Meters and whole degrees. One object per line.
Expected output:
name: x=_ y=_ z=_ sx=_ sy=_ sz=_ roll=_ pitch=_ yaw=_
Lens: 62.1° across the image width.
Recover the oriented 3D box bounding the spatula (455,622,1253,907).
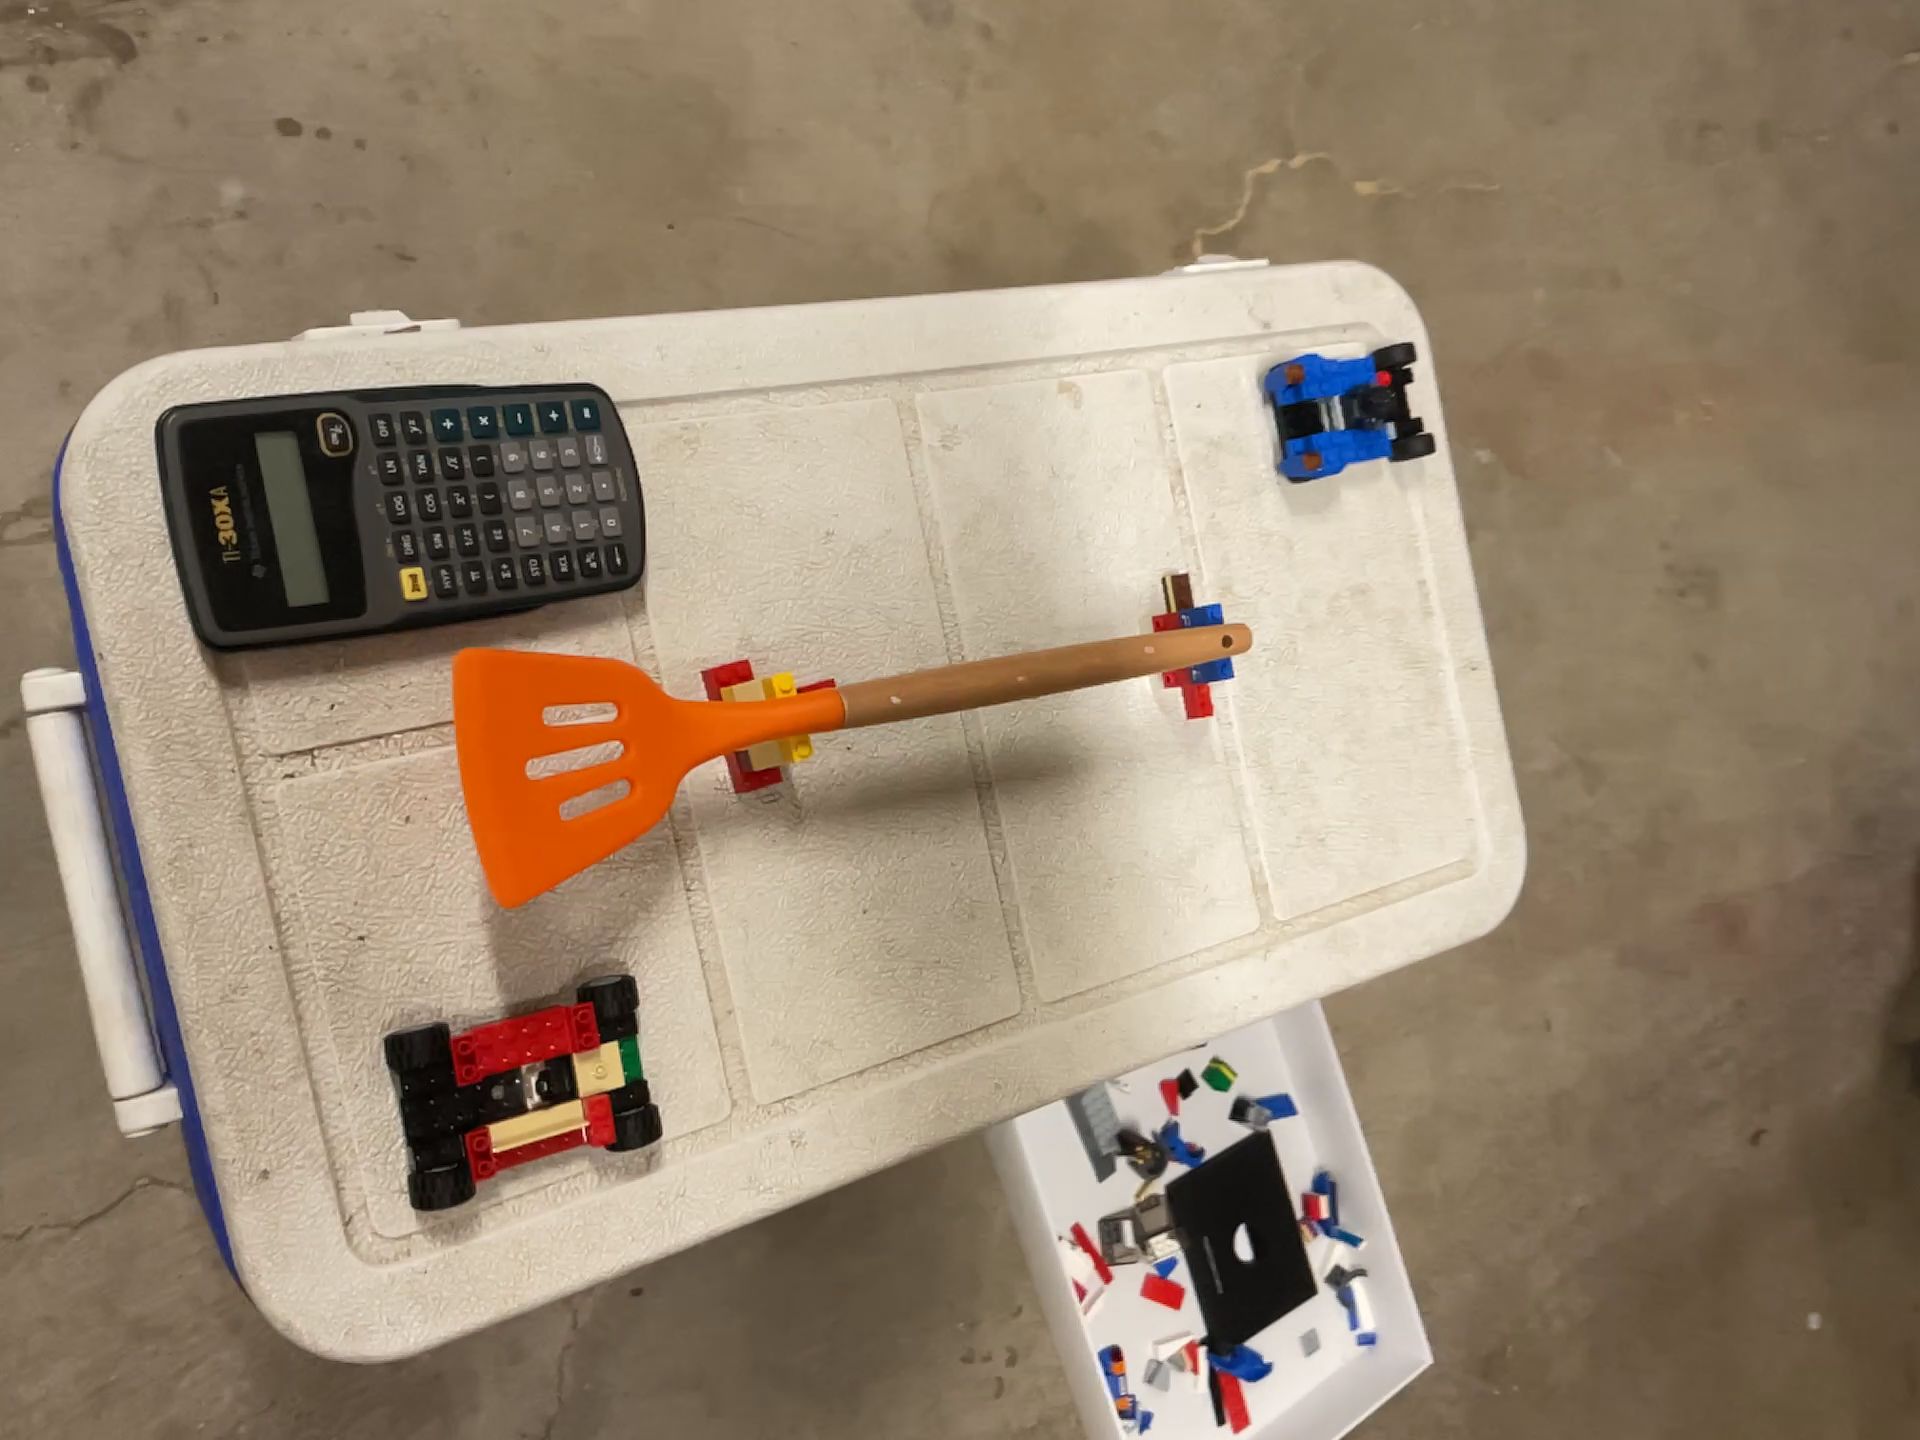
spatula: x=-0.018 y=-0.008 z=0.570 sx=0.323 sy=0.041 sz=0.081 roll=-11 pitch=95 yaw=-29
